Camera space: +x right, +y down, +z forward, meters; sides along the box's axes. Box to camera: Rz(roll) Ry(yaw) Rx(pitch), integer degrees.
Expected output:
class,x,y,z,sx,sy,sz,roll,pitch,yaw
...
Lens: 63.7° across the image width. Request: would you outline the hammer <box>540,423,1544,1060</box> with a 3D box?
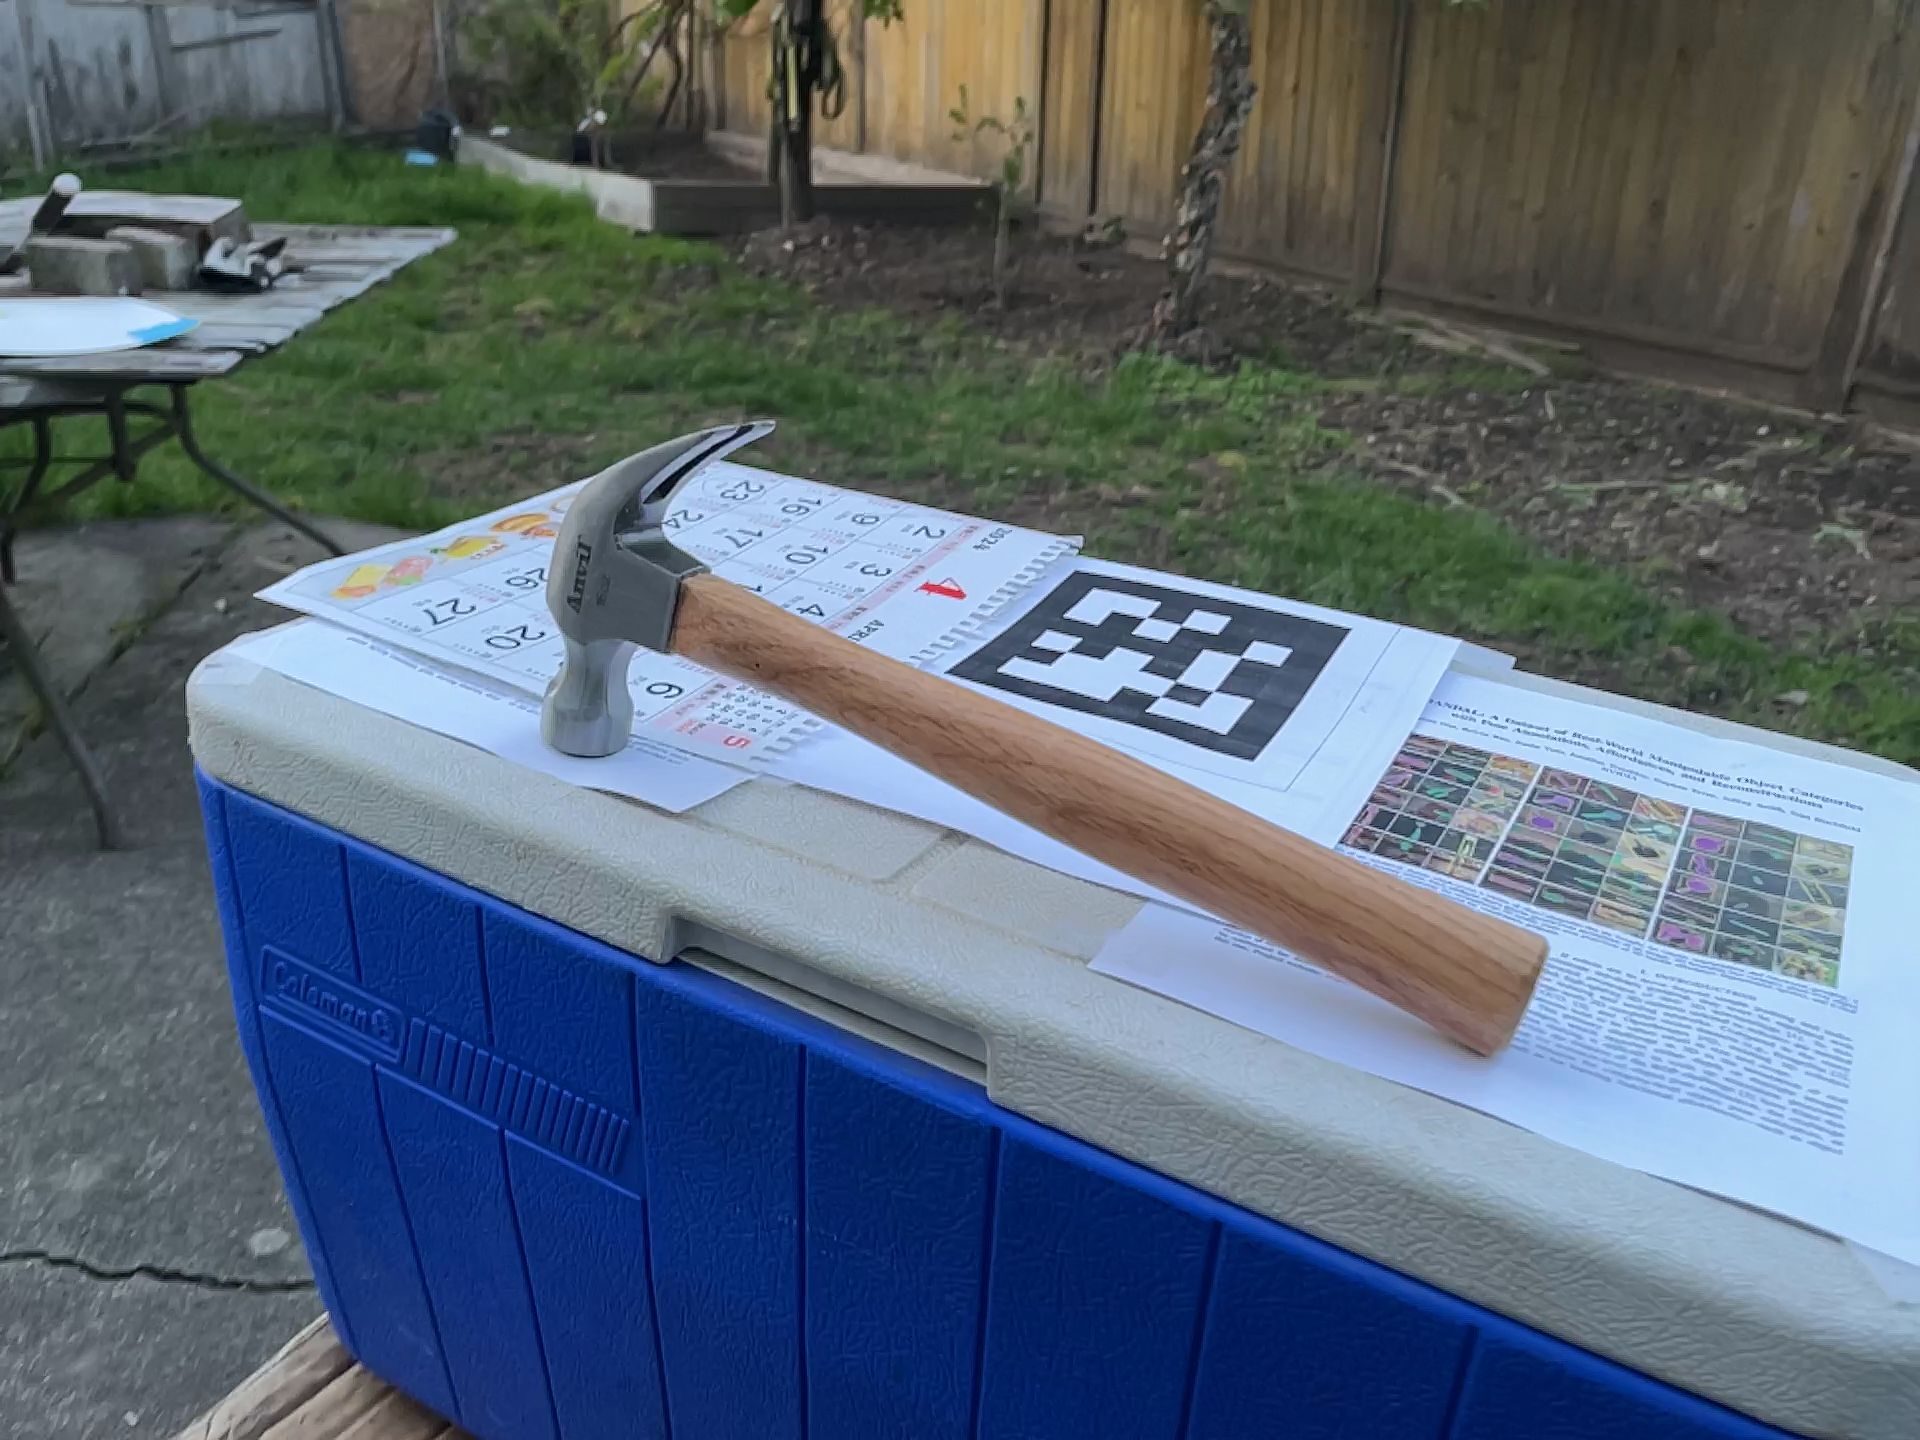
class,x,y,z,sx,sy,sz,roll,pitch,yaw
hammer,0.009,0.008,0.466,0.331,0.130,0.031,25,26,20
